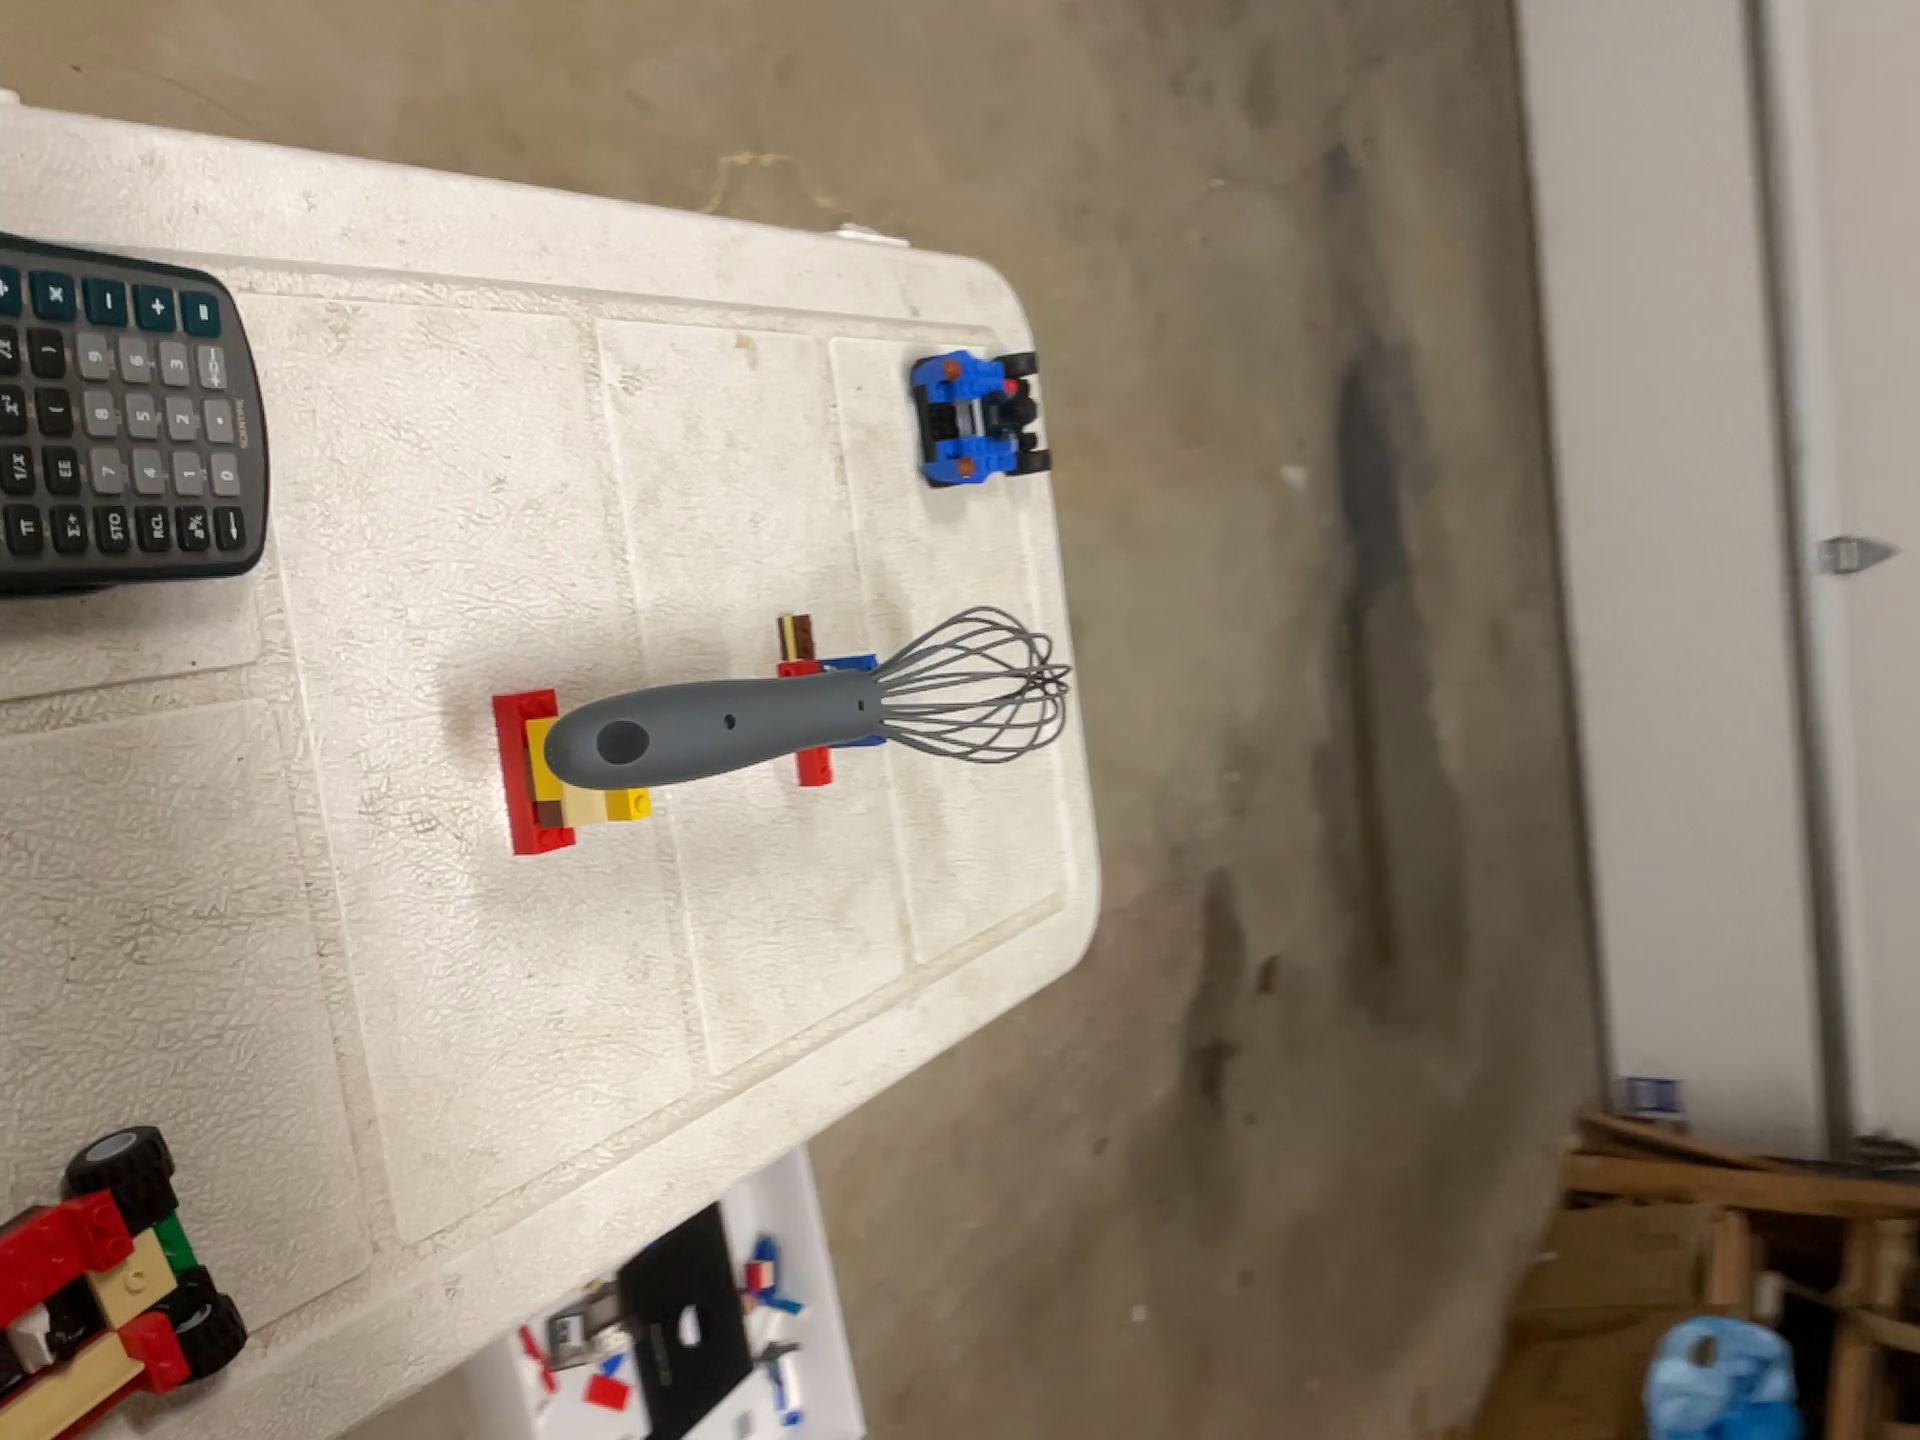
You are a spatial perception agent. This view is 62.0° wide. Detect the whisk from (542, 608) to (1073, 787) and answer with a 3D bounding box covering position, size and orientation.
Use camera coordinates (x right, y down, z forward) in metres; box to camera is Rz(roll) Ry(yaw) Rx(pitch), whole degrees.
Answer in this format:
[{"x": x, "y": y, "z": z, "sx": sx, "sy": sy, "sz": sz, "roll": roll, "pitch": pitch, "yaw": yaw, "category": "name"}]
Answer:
[{"x": -0.037, "y": -0.007, "z": 0.514, "sx": 0.239, "sy": 0.055, "sz": 0.055, "roll": -10, "pitch": 93, "yaw": -53, "category": "whisk"}]
